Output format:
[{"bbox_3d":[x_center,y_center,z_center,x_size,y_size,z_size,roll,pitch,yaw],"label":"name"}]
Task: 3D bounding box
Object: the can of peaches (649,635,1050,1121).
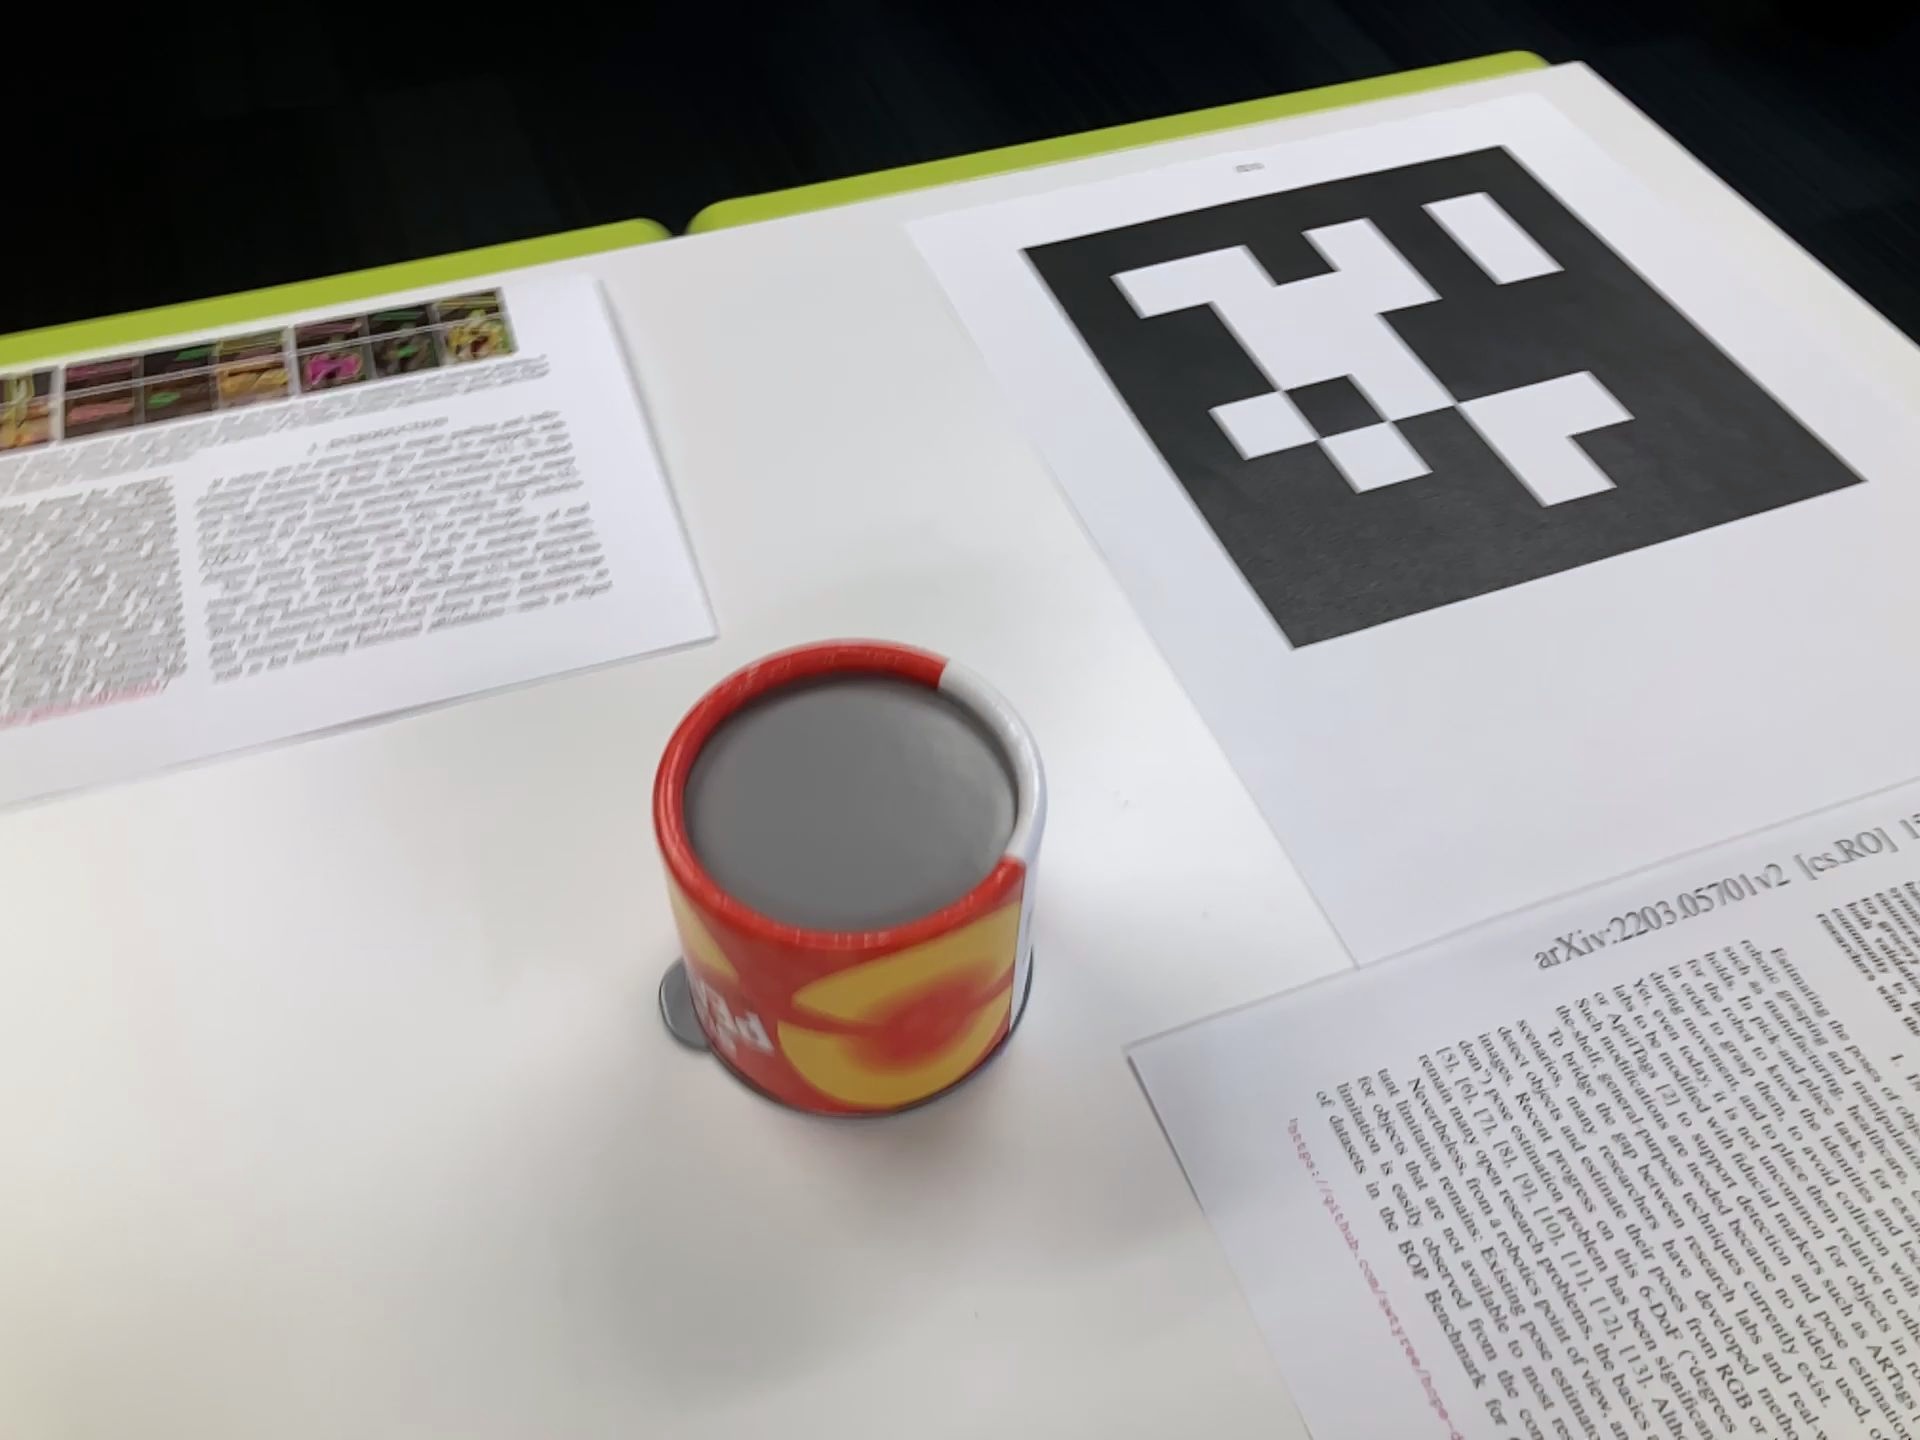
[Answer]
[{"bbox_3d":[-0.021,0.028,0.278,0.071,0.058,0.071,1,51,-2],"label":"can of peaches"}]
